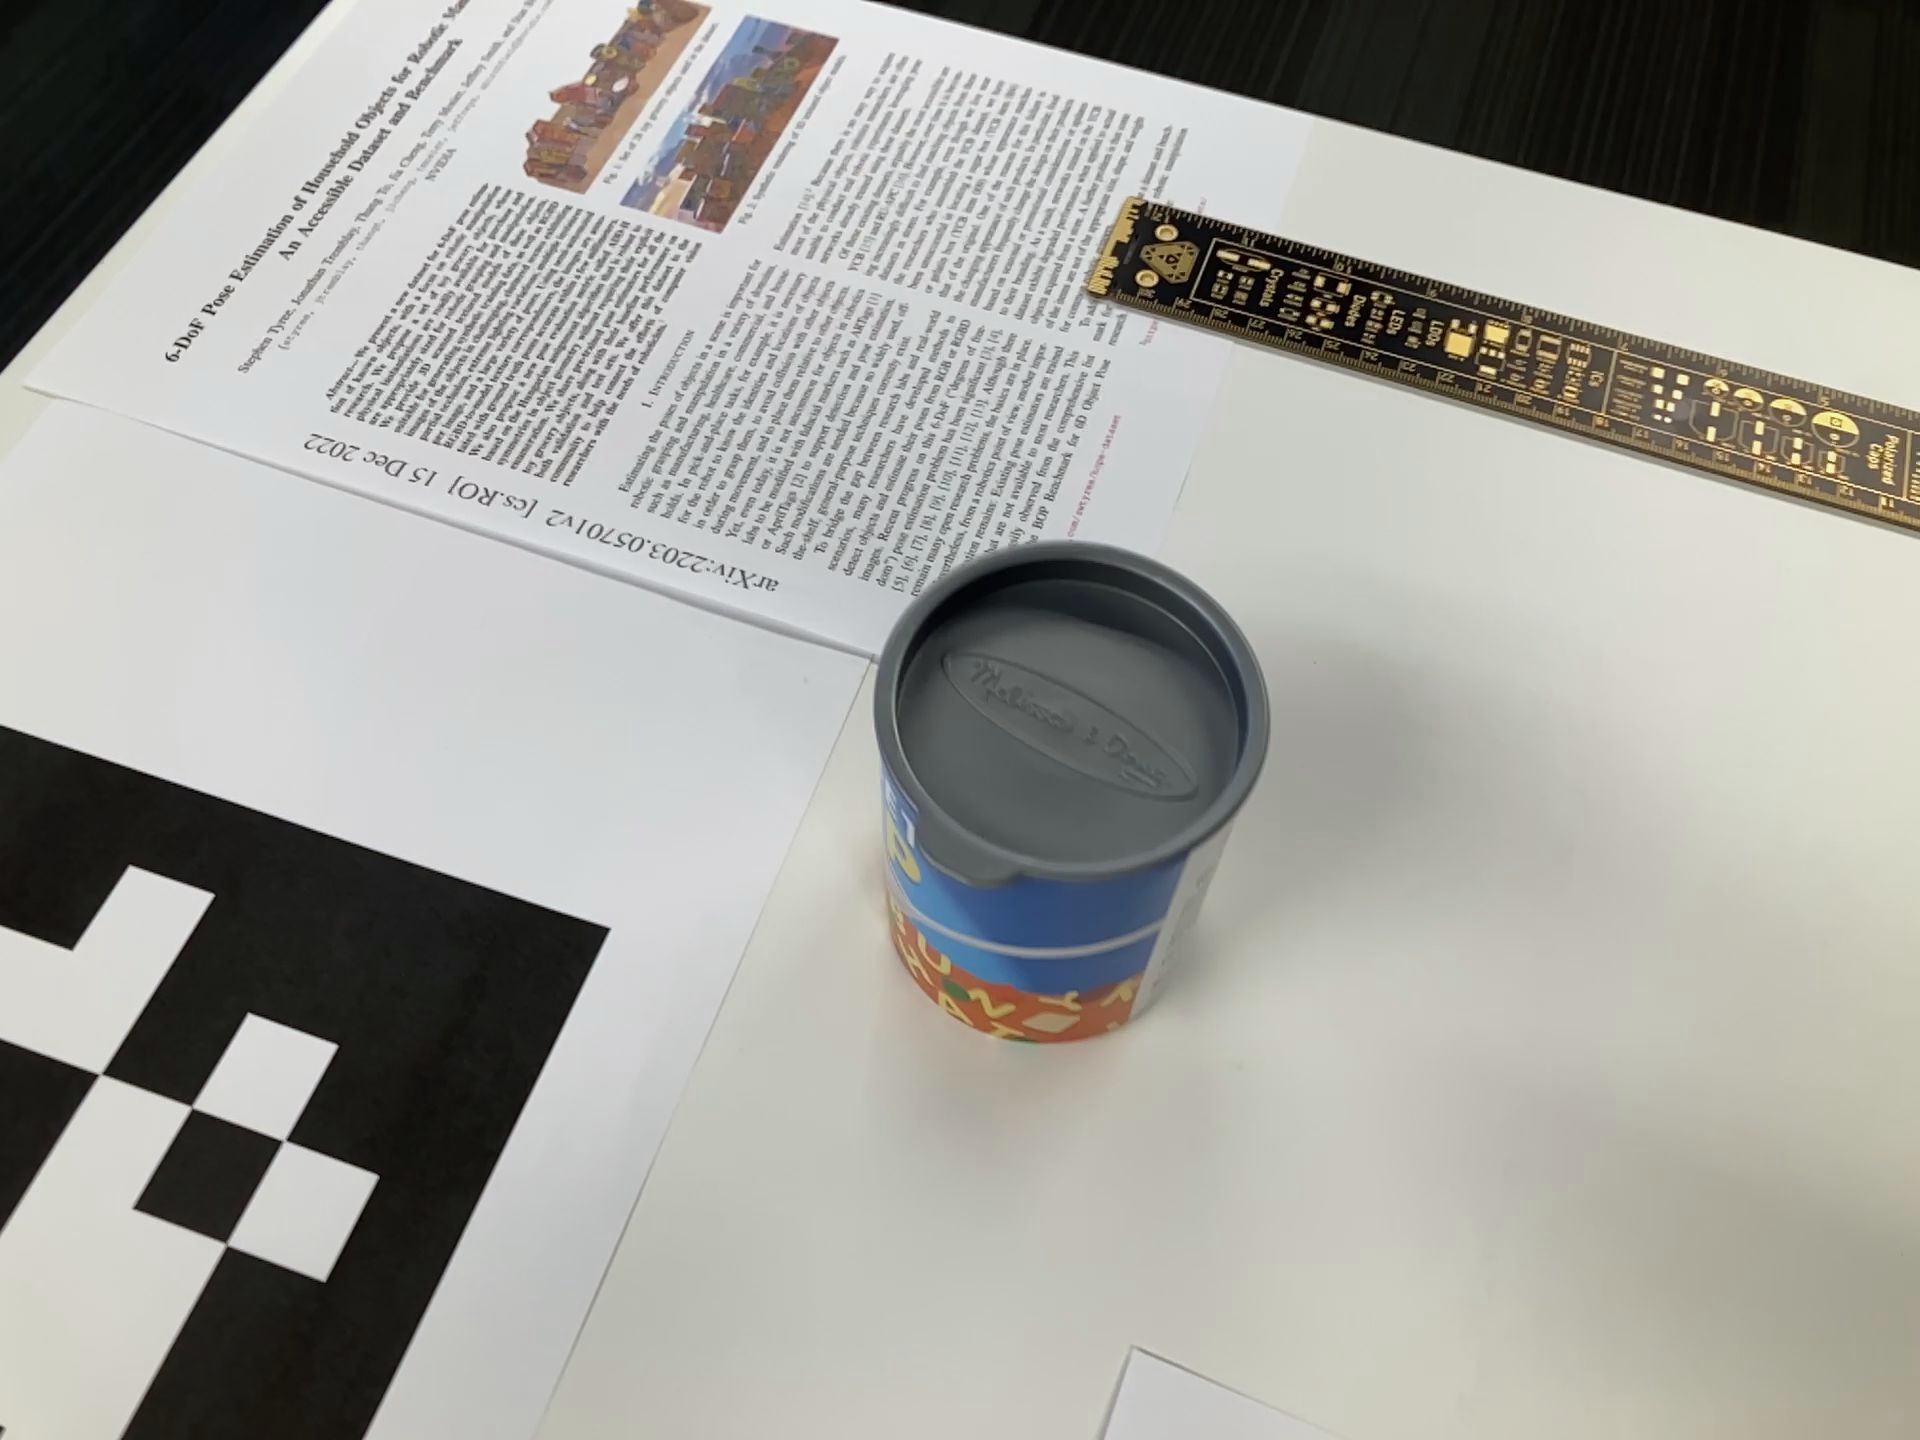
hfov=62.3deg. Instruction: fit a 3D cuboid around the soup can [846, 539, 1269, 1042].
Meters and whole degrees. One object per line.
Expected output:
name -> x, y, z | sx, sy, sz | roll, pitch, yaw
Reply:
soup can -> 0.015, 0.016, 0.302 | 0.071, 0.084, 0.071 | 1, 60, -2
